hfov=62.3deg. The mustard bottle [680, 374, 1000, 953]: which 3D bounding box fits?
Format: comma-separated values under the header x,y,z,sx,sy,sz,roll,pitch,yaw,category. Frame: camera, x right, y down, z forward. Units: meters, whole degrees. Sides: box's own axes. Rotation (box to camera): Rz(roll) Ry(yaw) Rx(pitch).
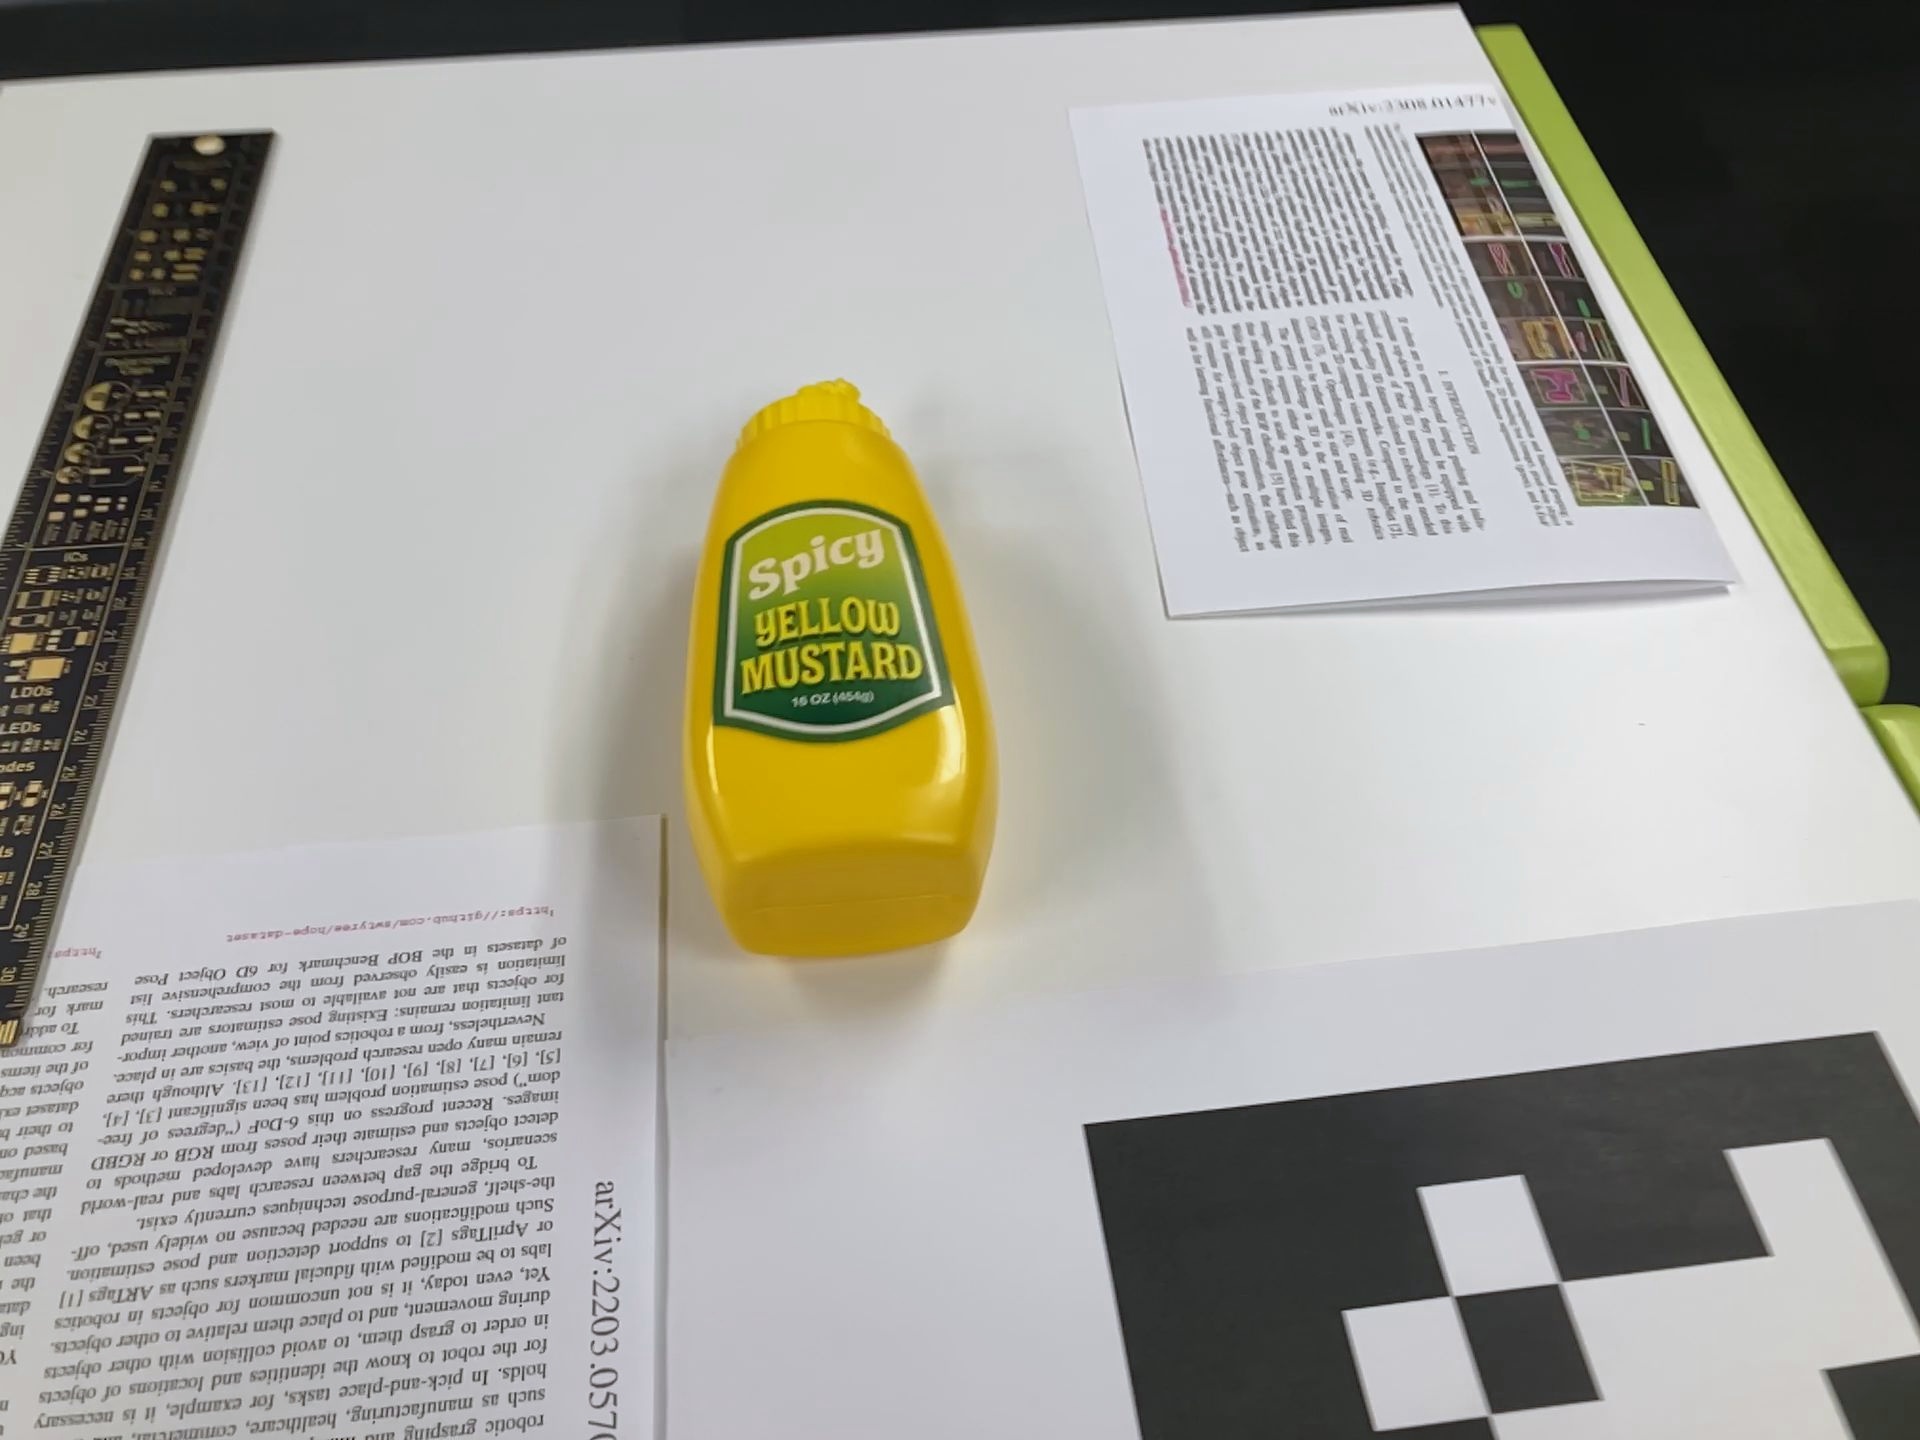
x,y,z,sx,sy,sz,roll,pitch,yaw,category
-0.030,-0.027,0.355,0.065,0.049,0.160,-5,52,-6,mustard bottle
